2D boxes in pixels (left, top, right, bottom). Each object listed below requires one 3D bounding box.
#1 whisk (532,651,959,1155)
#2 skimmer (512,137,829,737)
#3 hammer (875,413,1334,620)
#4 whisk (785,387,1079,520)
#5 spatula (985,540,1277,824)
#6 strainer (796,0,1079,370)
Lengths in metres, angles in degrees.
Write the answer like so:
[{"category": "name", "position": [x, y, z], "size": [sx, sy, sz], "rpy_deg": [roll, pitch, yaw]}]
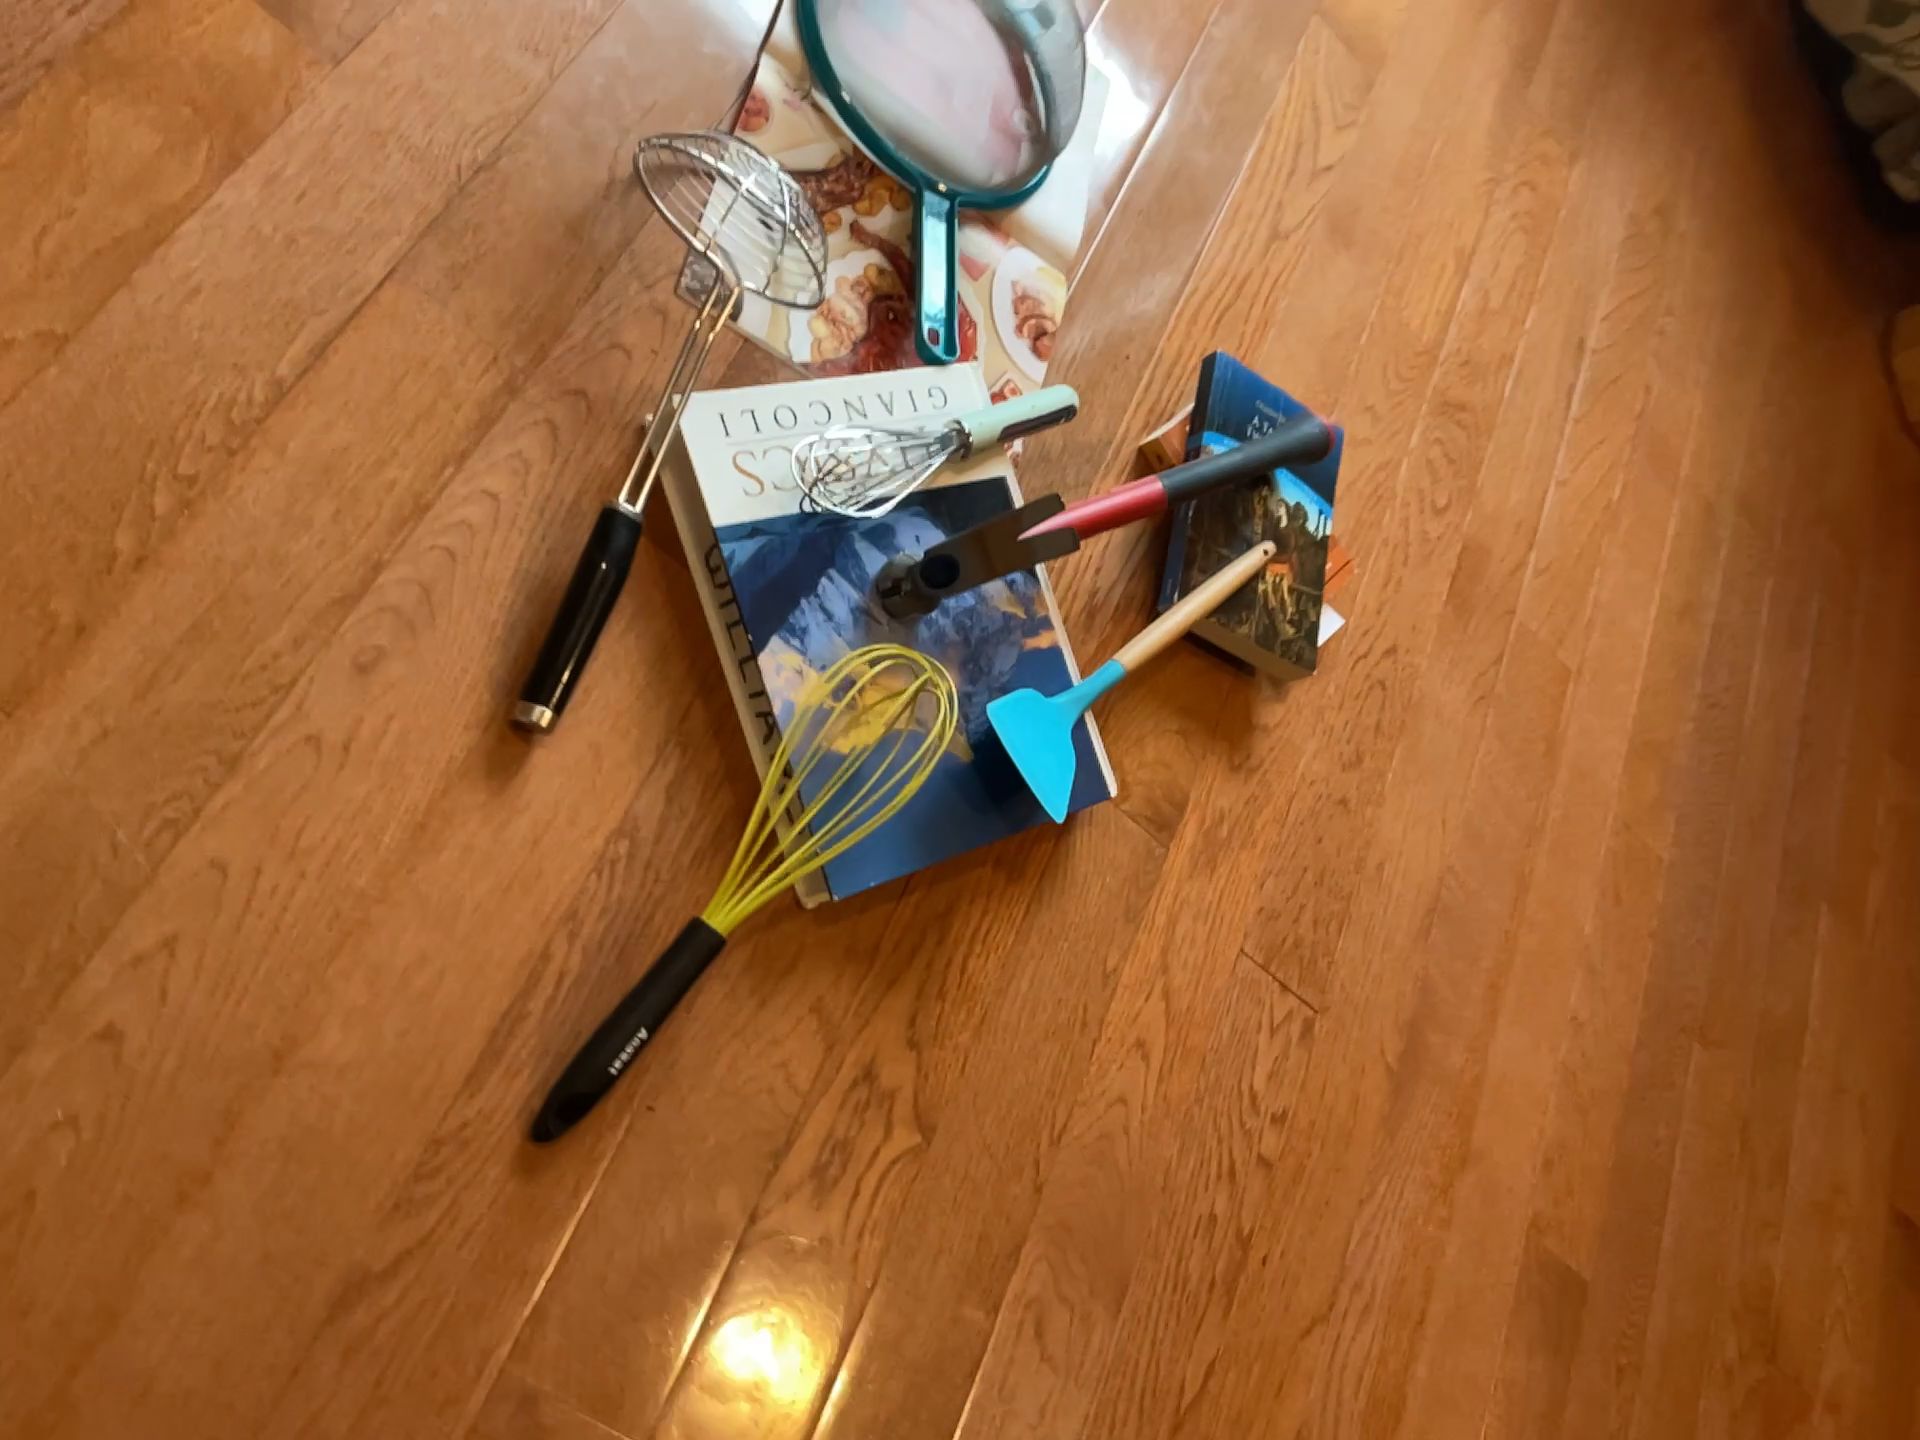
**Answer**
[{"category": "whisk", "position": [-0.108, 0.085, 0.794], "size": [0.312, 0.067, 0.080], "rpy_deg": [-52, 125, -20]}, {"category": "skimmer", "position": [-0.168, -0.159, 0.859], "size": [0.127, 0.090, 0.364], "rpy_deg": [29, 72, -30]}, {"category": "hammer", "position": [0.129, -0.141, 0.972], "size": [0.387, 0.143, 0.038], "rpy_deg": [-25, 96, -42]}, {"category": "whisk", "position": [-0.007, -0.161, 0.929], "size": [0.059, 0.057, 0.247], "rpy_deg": [43, 43, 19]}, {"category": "spatula", "position": [0.120, -0.045, 0.987], "size": [0.318, 0.044, 0.082], "rpy_deg": [-37, 99, -38]}, {"category": "strainer", "position": [0.008, -0.382, 1.003], "size": [0.211, 0.095, 0.341], "rpy_deg": [16, 61, -34]}]
